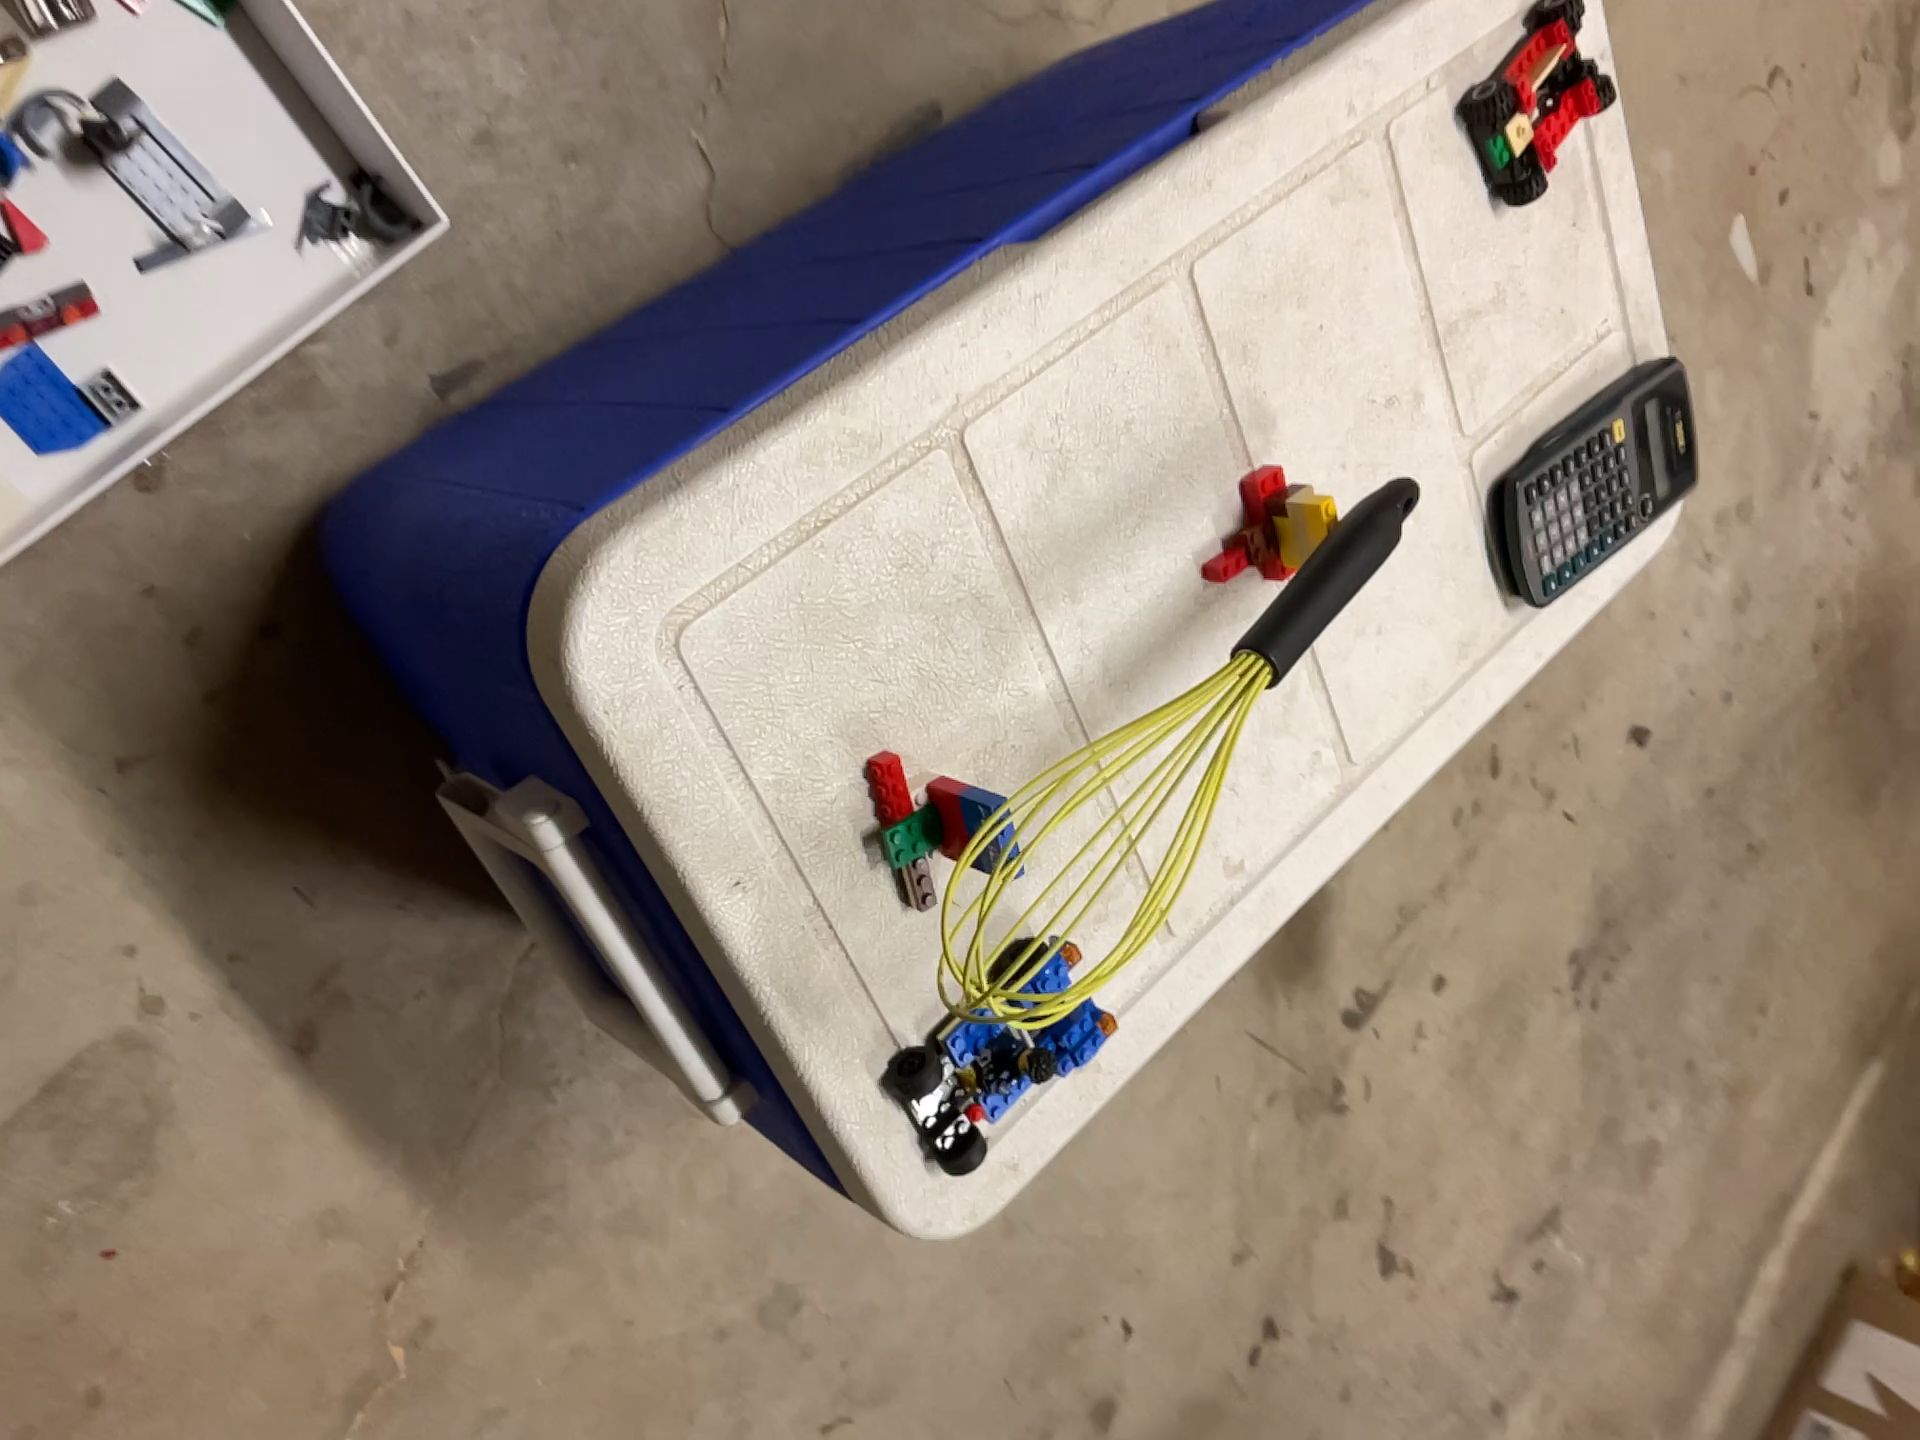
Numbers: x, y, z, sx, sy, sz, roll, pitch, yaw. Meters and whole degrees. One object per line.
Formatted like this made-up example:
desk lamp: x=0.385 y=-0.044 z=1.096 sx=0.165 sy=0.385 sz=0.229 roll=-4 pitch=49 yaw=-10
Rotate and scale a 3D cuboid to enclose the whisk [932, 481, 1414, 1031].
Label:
whisk: x=0.091 y=-0.002 z=0.591 sx=0.312 sy=0.067 sz=0.079 roll=-46 pitch=170 yaw=-30
